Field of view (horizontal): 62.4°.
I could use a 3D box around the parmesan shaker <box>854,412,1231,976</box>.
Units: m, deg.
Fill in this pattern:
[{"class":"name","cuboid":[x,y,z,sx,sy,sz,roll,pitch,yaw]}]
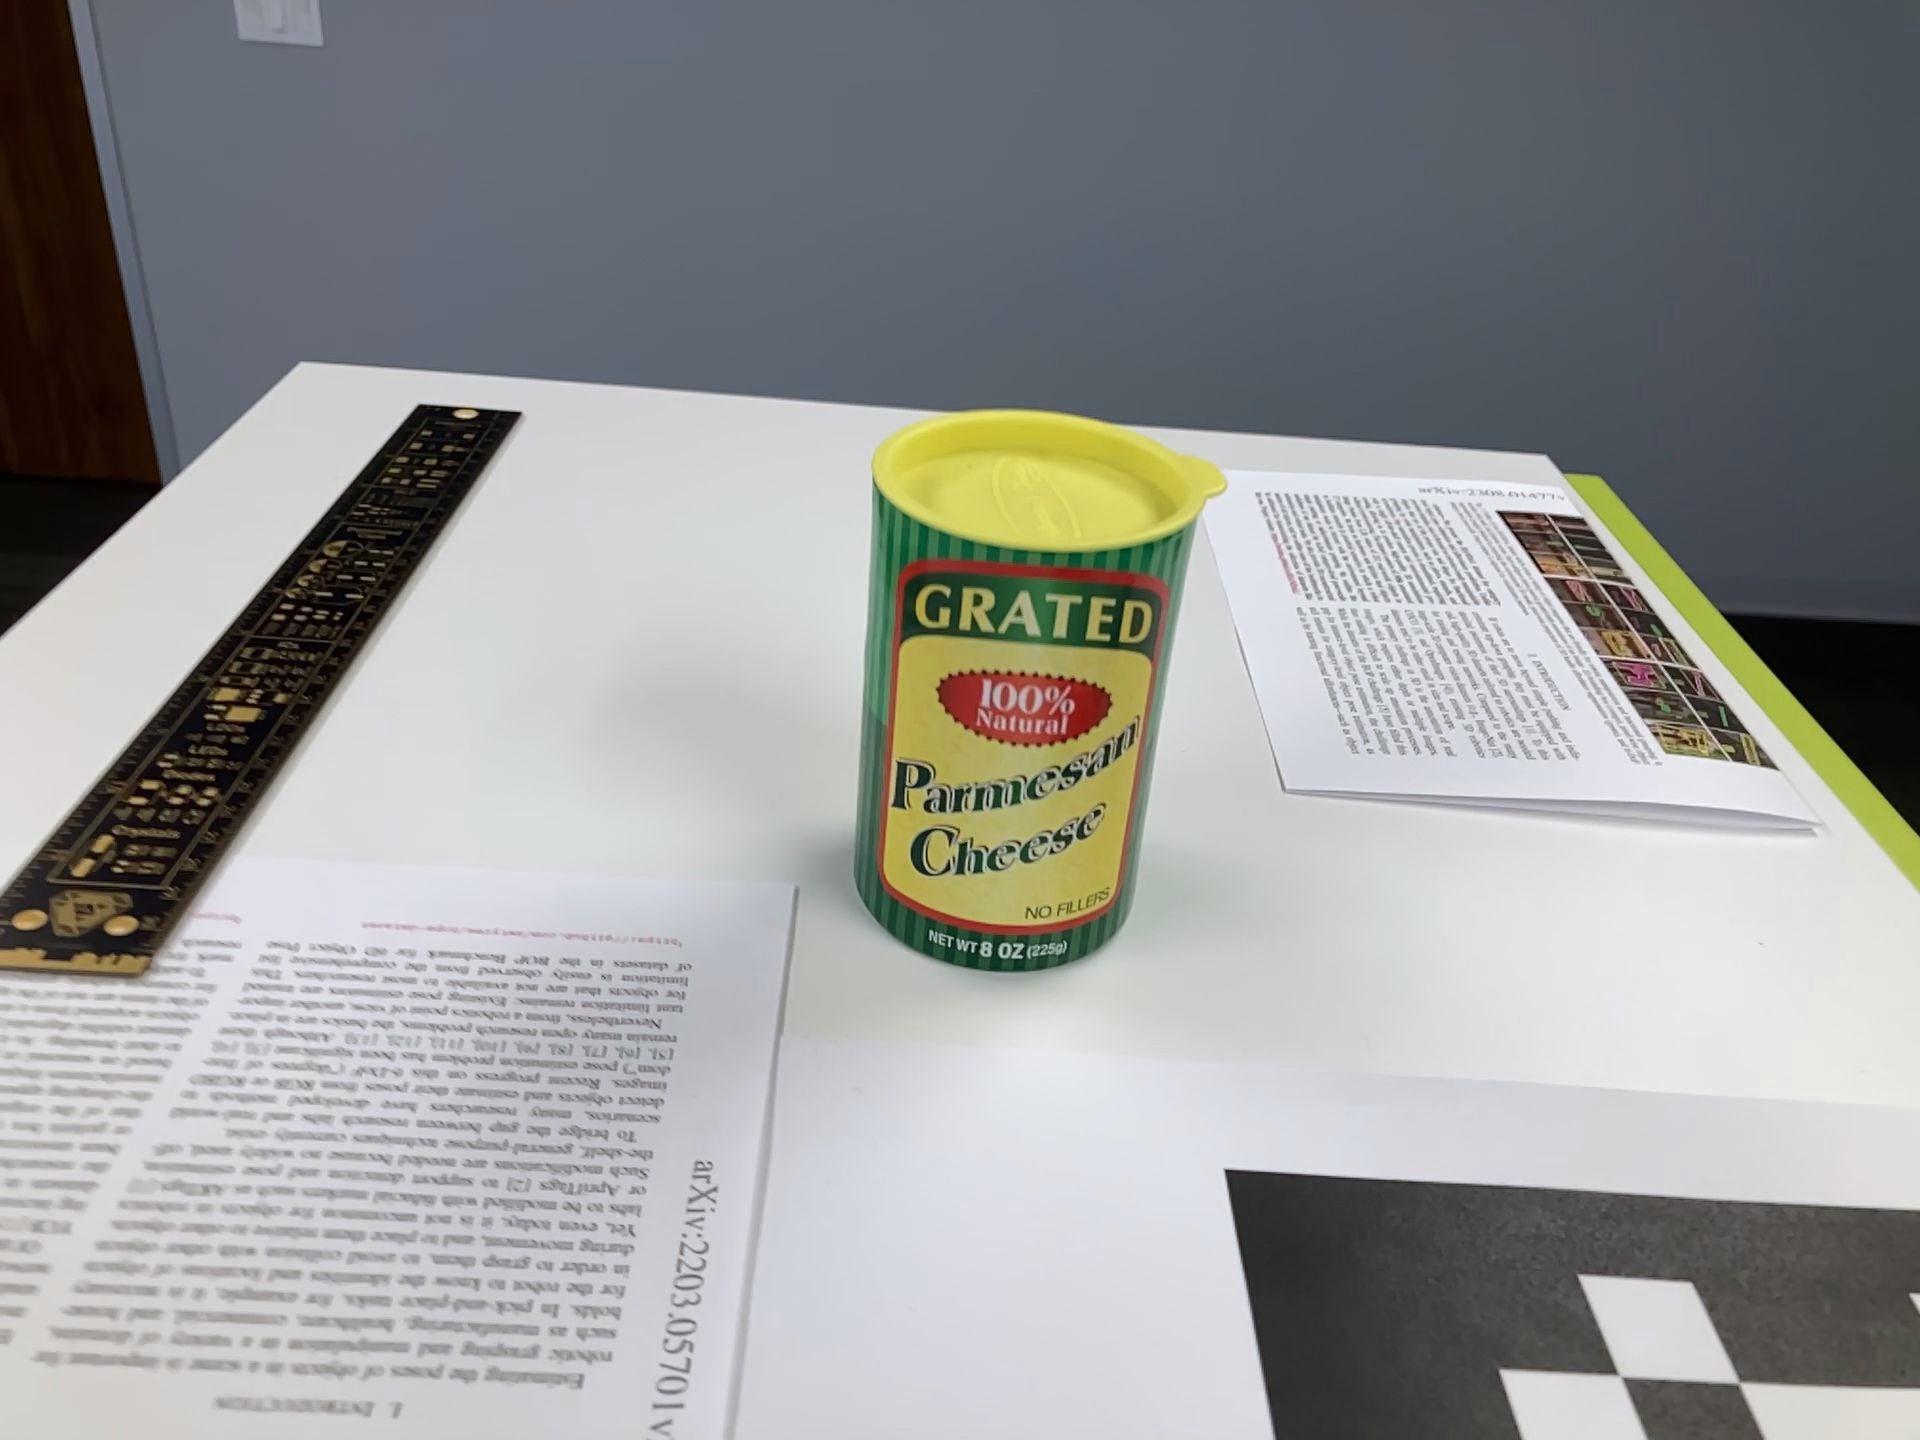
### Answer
[{"class":"parmesan shaker","cuboid":[0.015,-0.005,0.337,0.071,0.103,0.071,3,31,-2]}]
